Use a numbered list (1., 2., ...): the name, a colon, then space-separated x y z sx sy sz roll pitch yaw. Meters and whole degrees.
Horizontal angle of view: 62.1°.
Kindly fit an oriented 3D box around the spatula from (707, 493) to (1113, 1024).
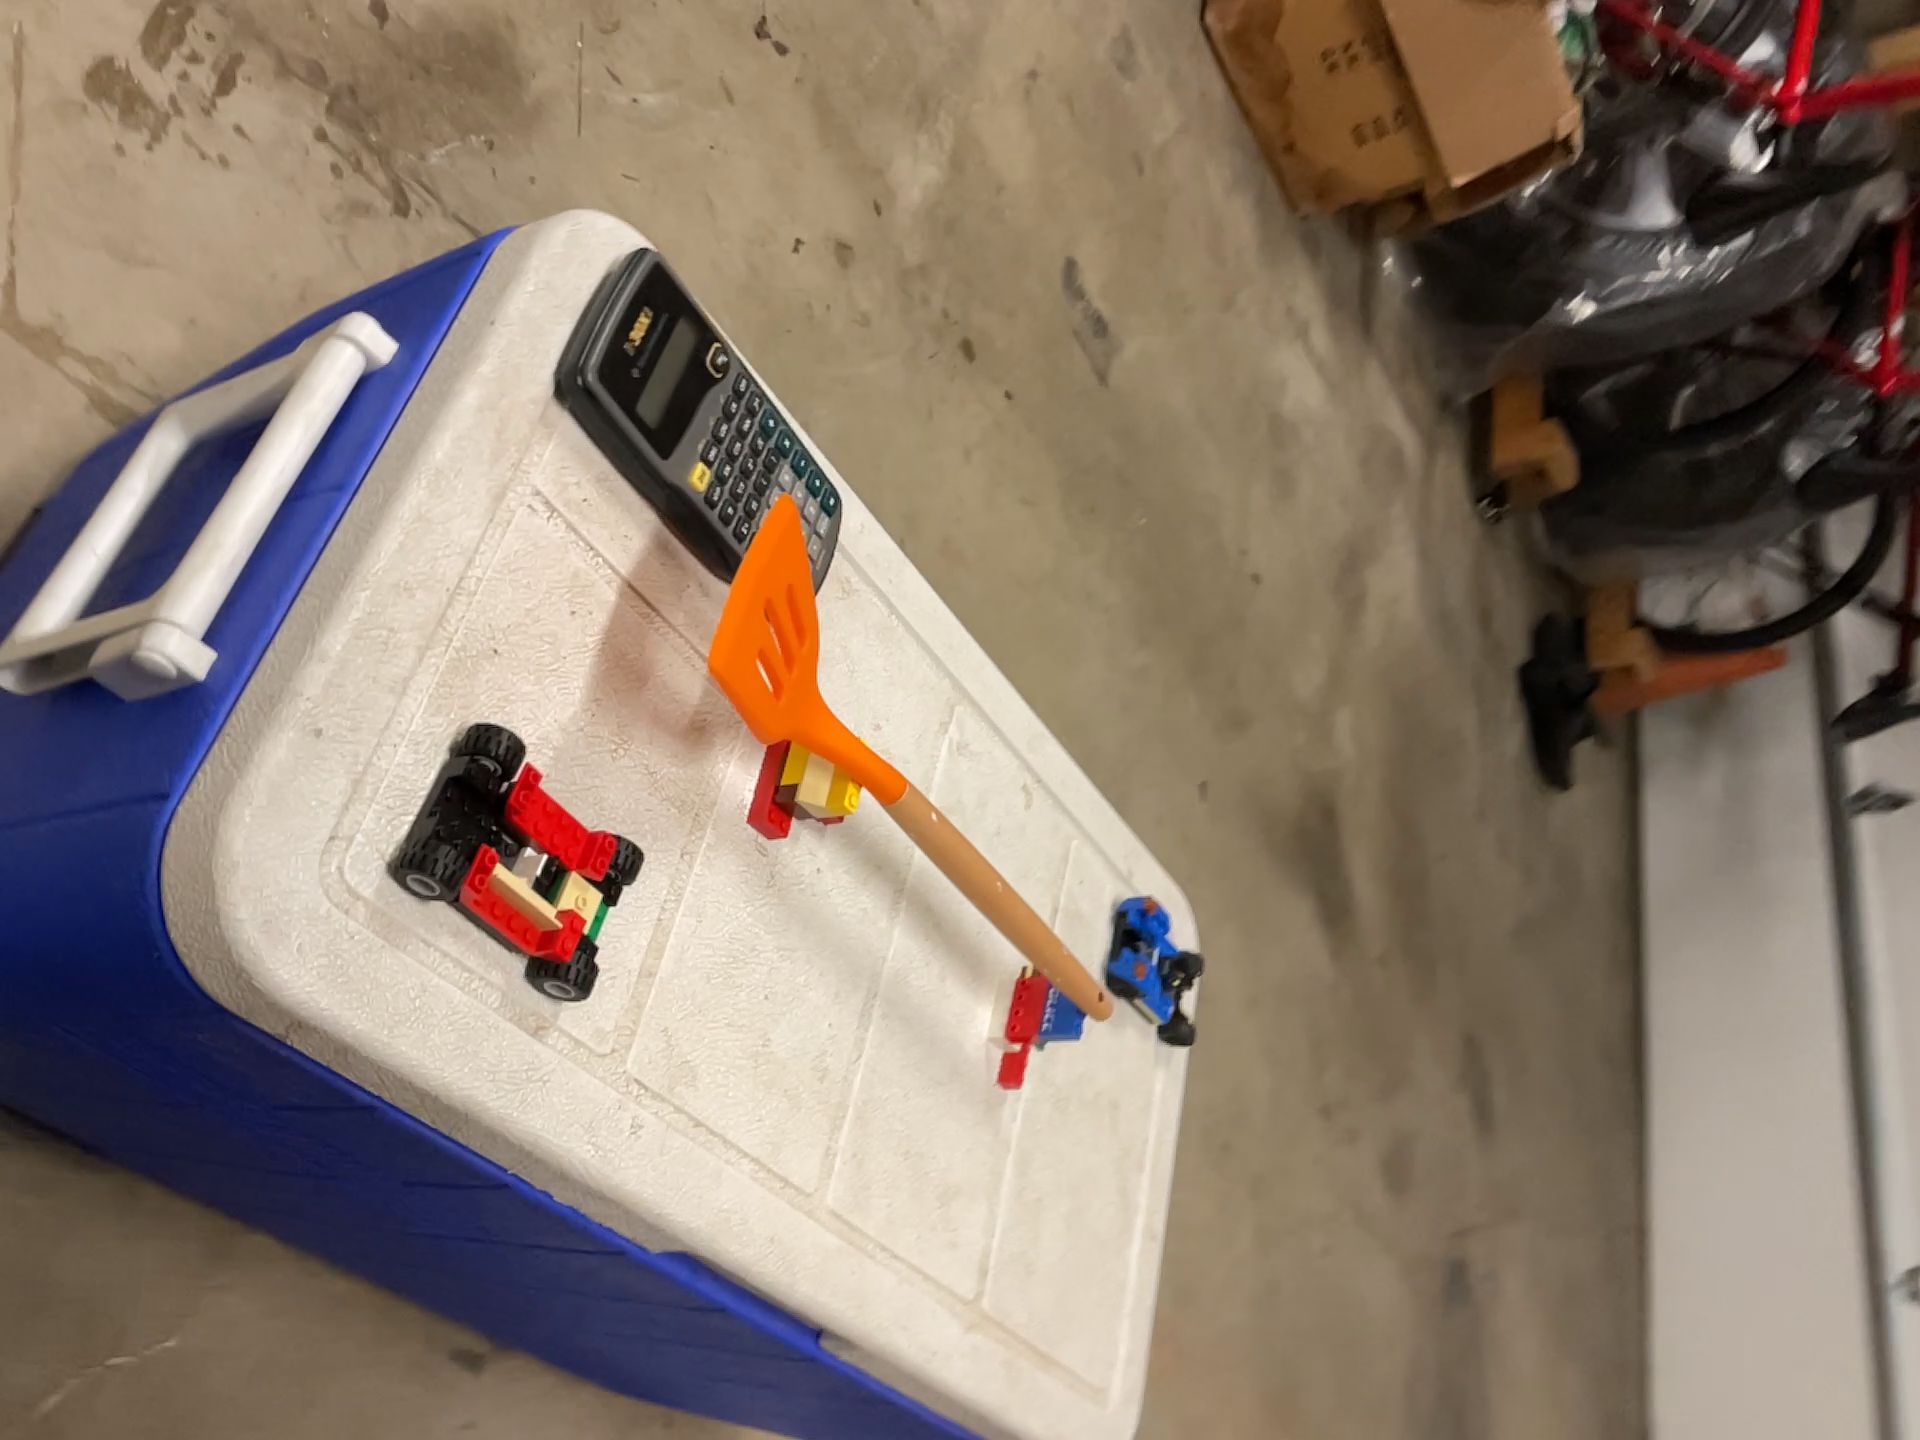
1. spatula: -0.008 0.044 0.658 0.322 0.041 0.081 49 47 -38
